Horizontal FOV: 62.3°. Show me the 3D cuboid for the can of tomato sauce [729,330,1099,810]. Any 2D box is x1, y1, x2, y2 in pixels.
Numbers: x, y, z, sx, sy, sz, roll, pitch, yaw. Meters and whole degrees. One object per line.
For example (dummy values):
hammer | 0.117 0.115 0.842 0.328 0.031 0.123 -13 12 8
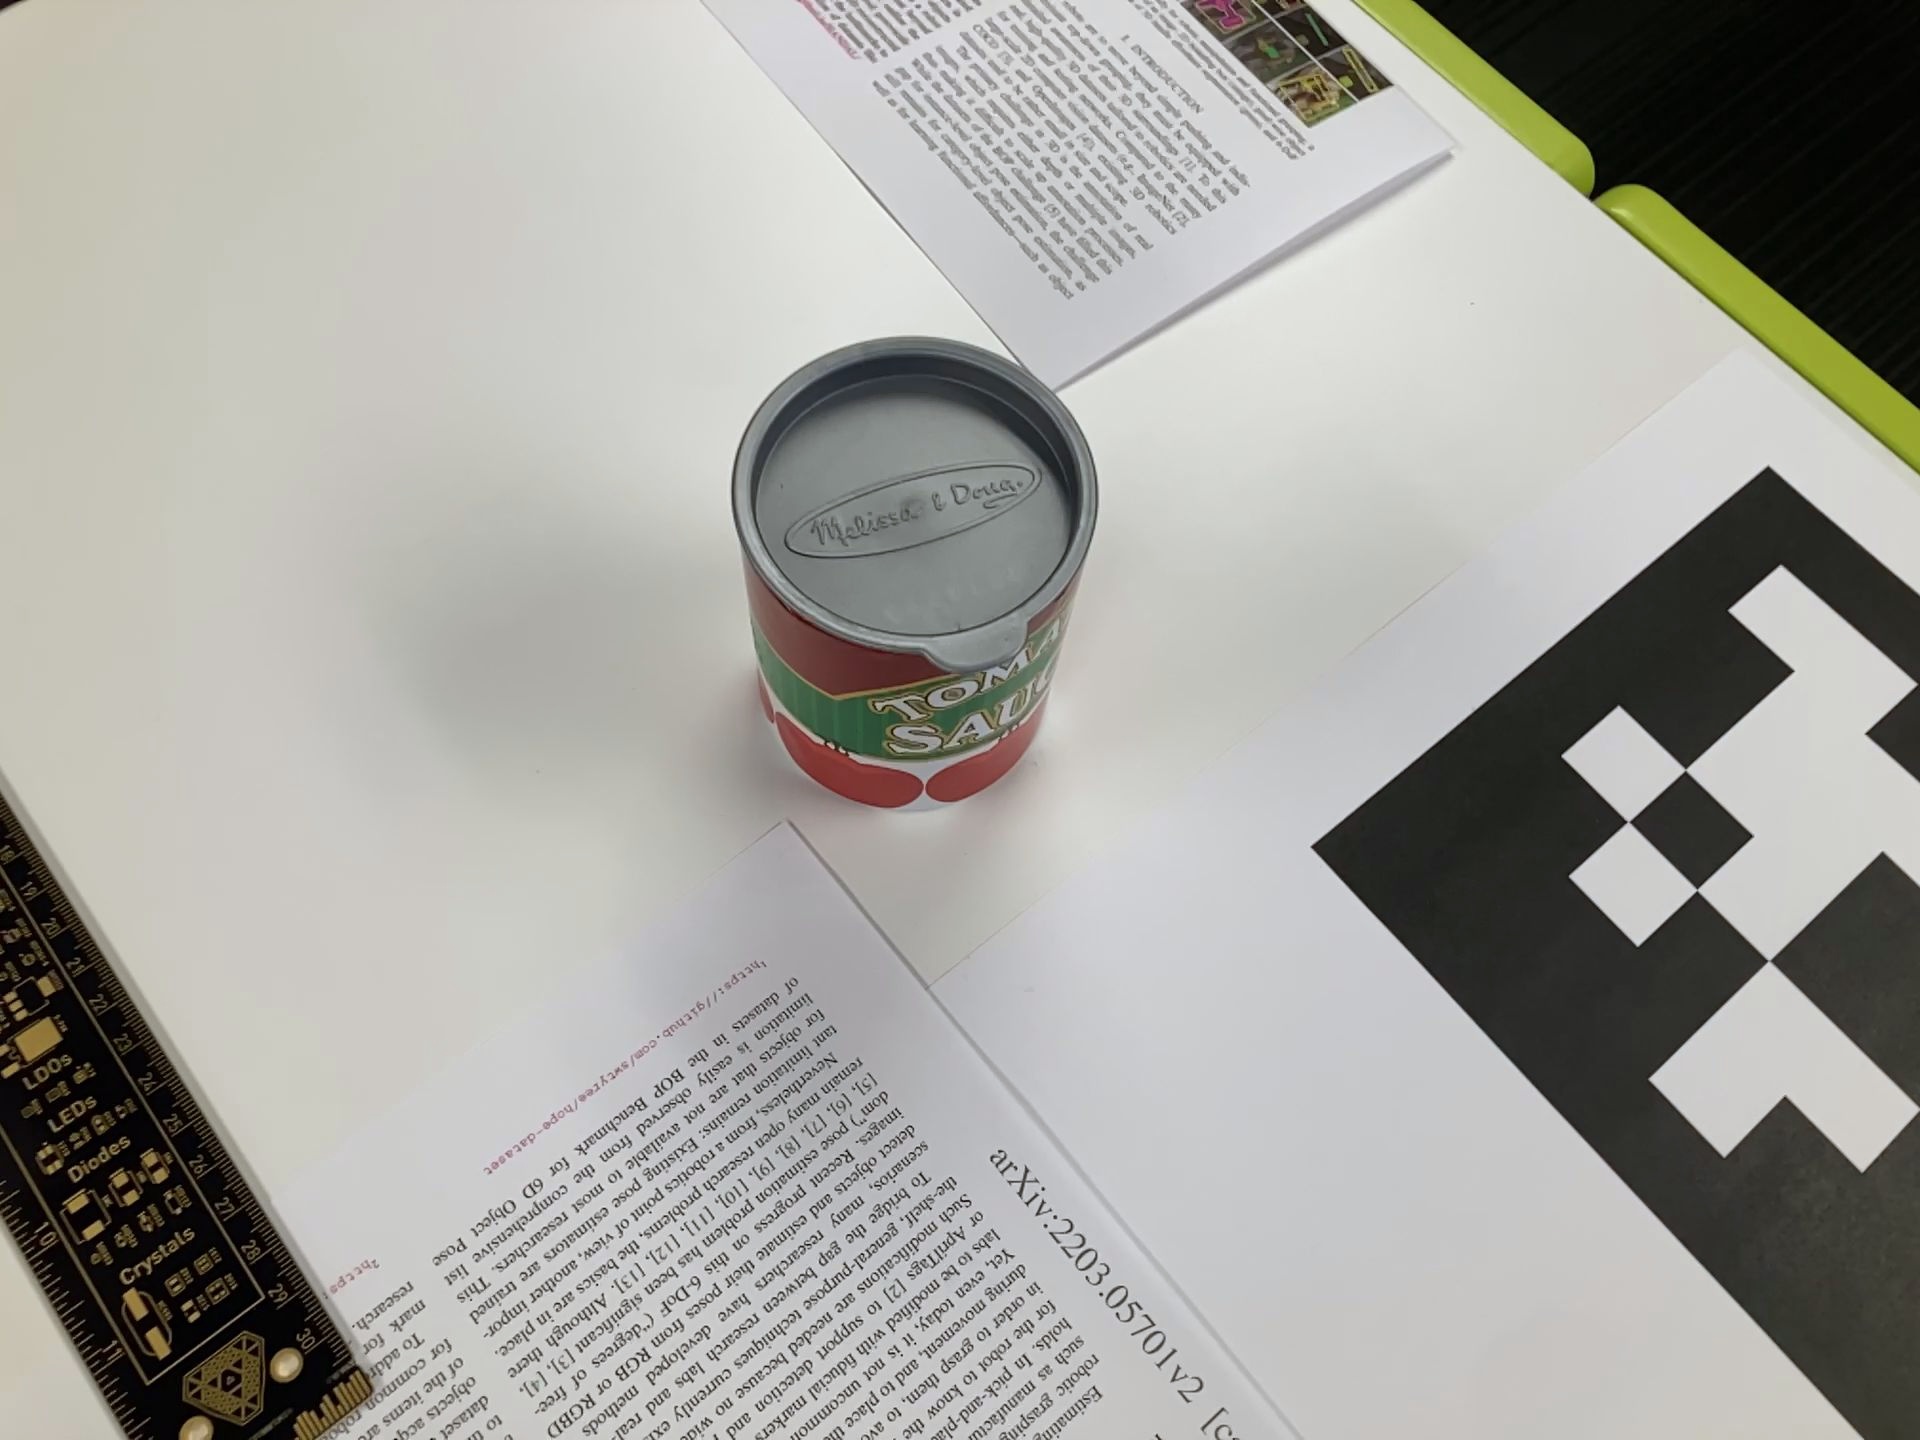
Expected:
can of tomato sauce | -0.009 -0.025 0.322 0.071 0.083 0.071 1 66 -3
